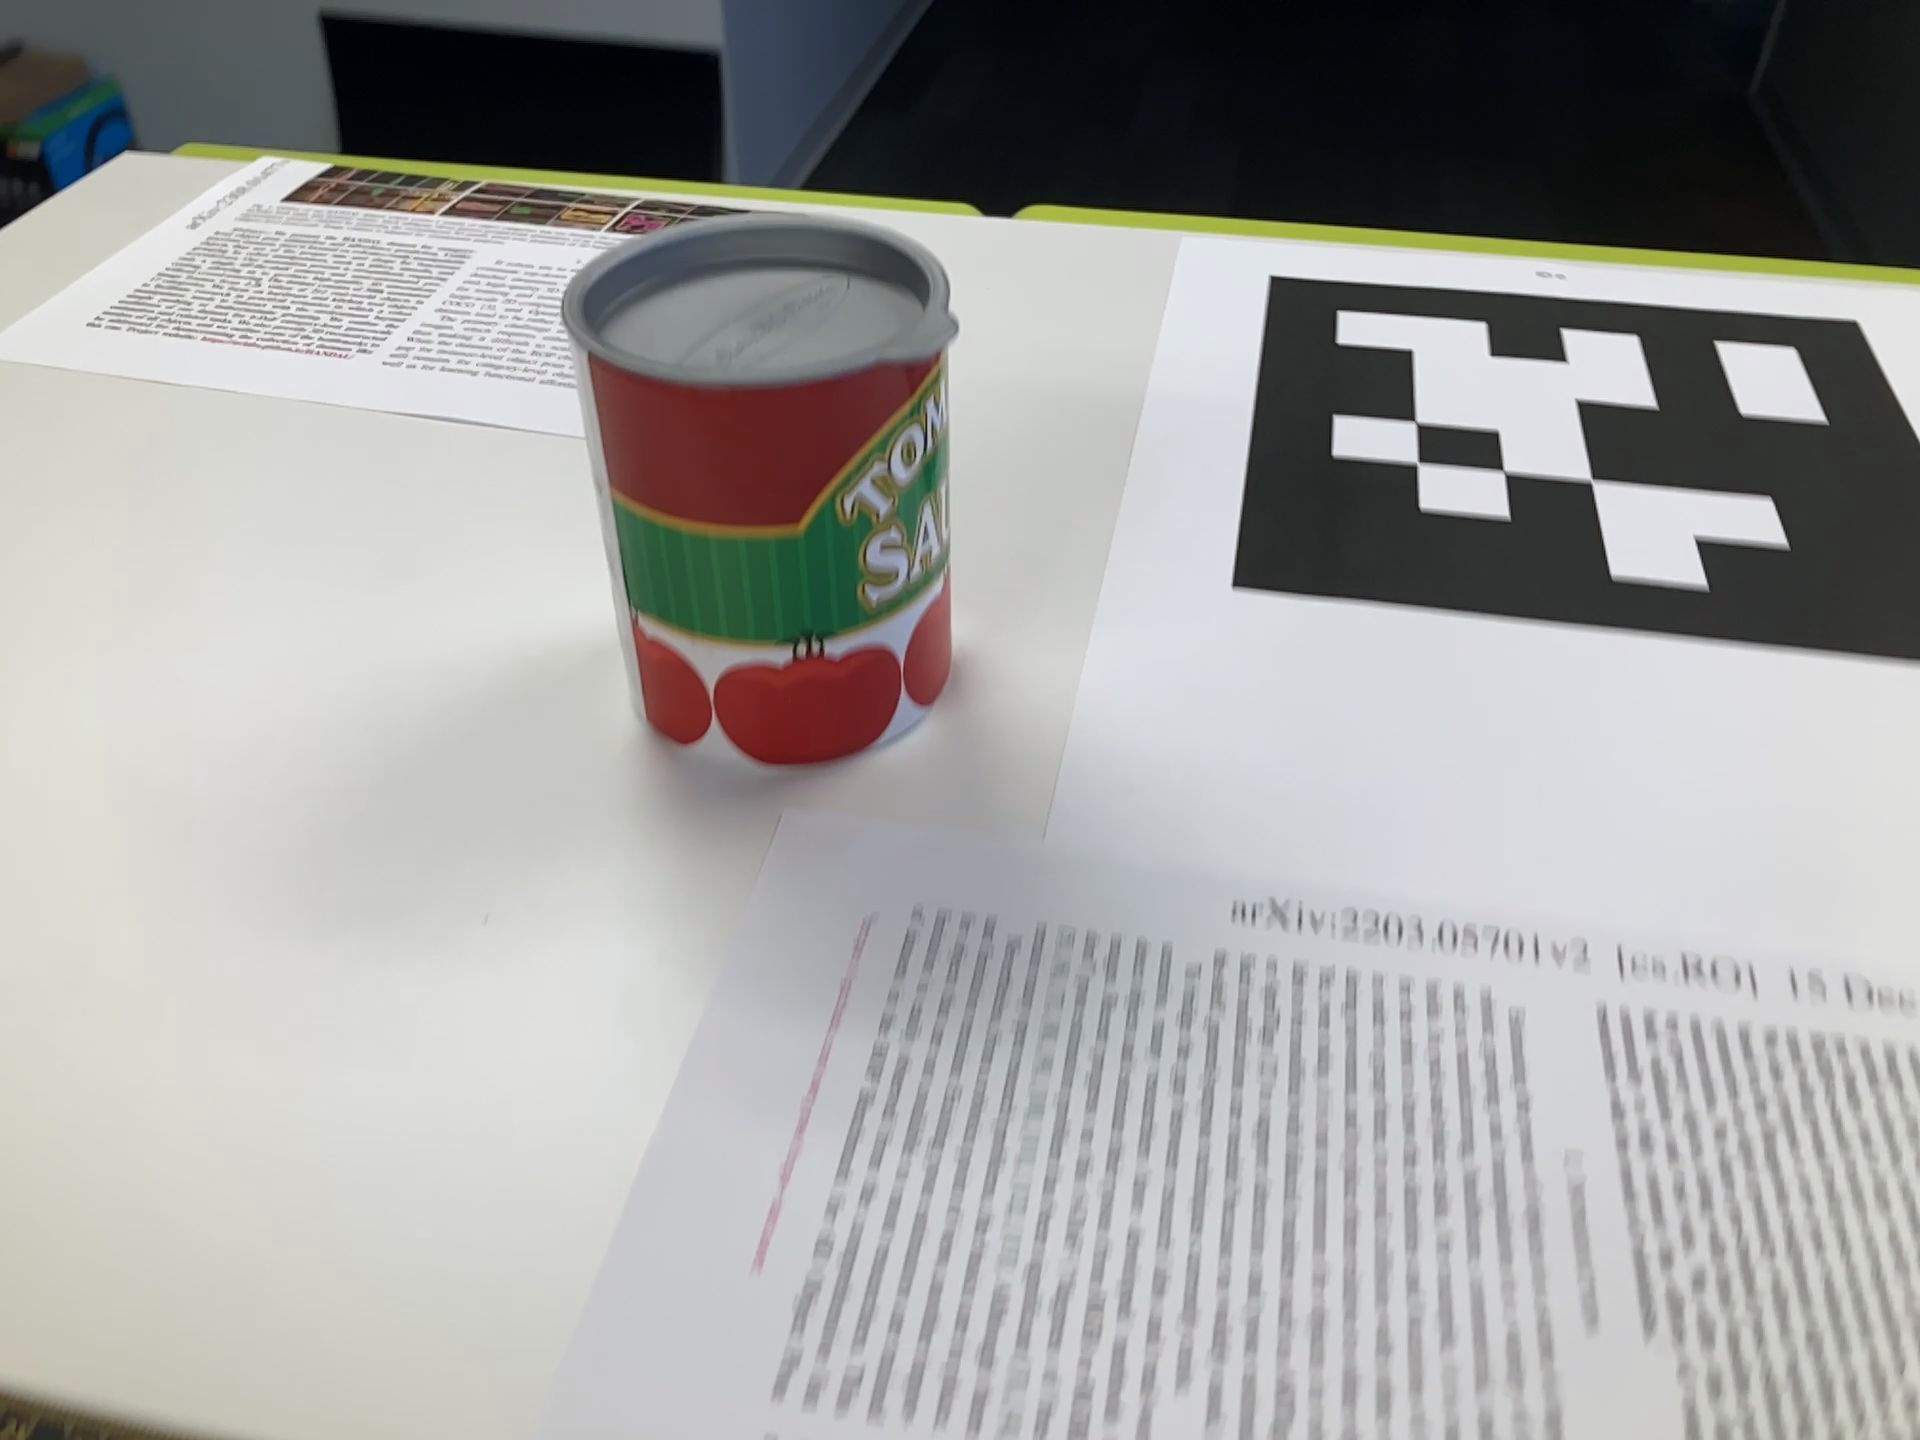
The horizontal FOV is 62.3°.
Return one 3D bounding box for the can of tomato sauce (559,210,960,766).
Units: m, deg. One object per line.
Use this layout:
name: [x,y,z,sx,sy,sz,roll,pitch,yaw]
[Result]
can of tomato sauce: [-0.033,-0.043,0.298,0.071,0.083,0.071,0,40,0]
